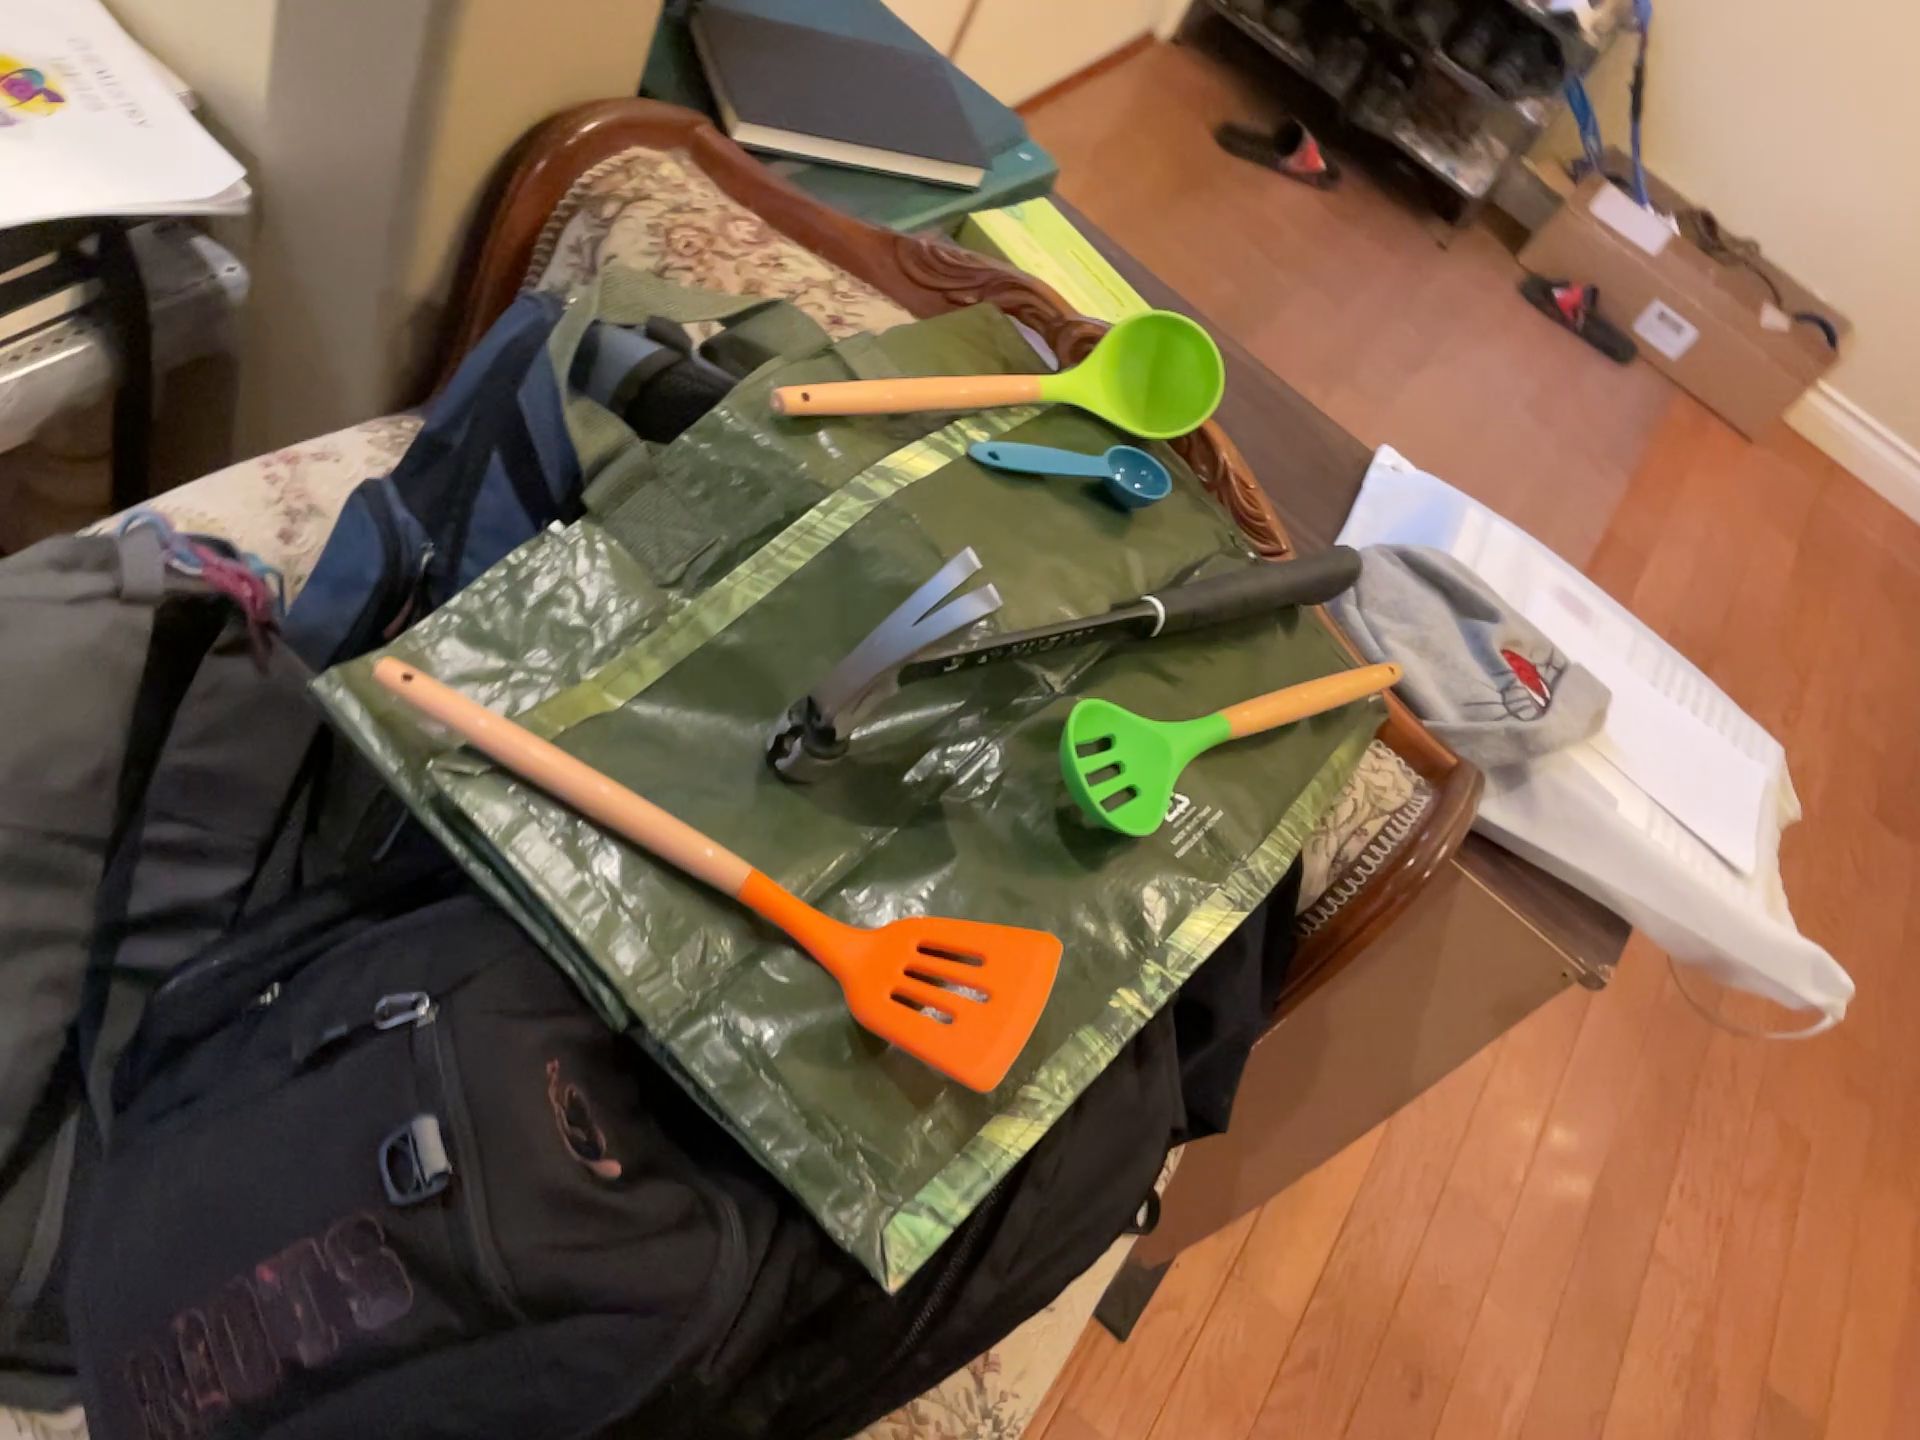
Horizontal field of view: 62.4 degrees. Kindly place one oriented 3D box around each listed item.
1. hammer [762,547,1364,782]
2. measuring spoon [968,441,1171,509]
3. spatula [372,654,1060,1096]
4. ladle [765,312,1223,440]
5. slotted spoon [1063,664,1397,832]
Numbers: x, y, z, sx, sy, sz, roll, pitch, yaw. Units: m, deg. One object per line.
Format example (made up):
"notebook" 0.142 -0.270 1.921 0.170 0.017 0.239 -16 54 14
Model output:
"hammer" 0.091 -0.055 0.829 0.408 0.149 0.036 -15 71 -43
"measuring spoon" 0.058 -0.135 0.878 0.128 0.021 0.042 3 51 -27
"spatula" -0.112 0.054 0.679 0.322 0.041 0.081 31 54 2
"ladle" 0.029 -0.185 0.876 0.320 0.062 0.078 -14 87 -43
"slotted spoon" 0.151 0.001 0.835 0.313 0.031 0.070 -15 77 -46
